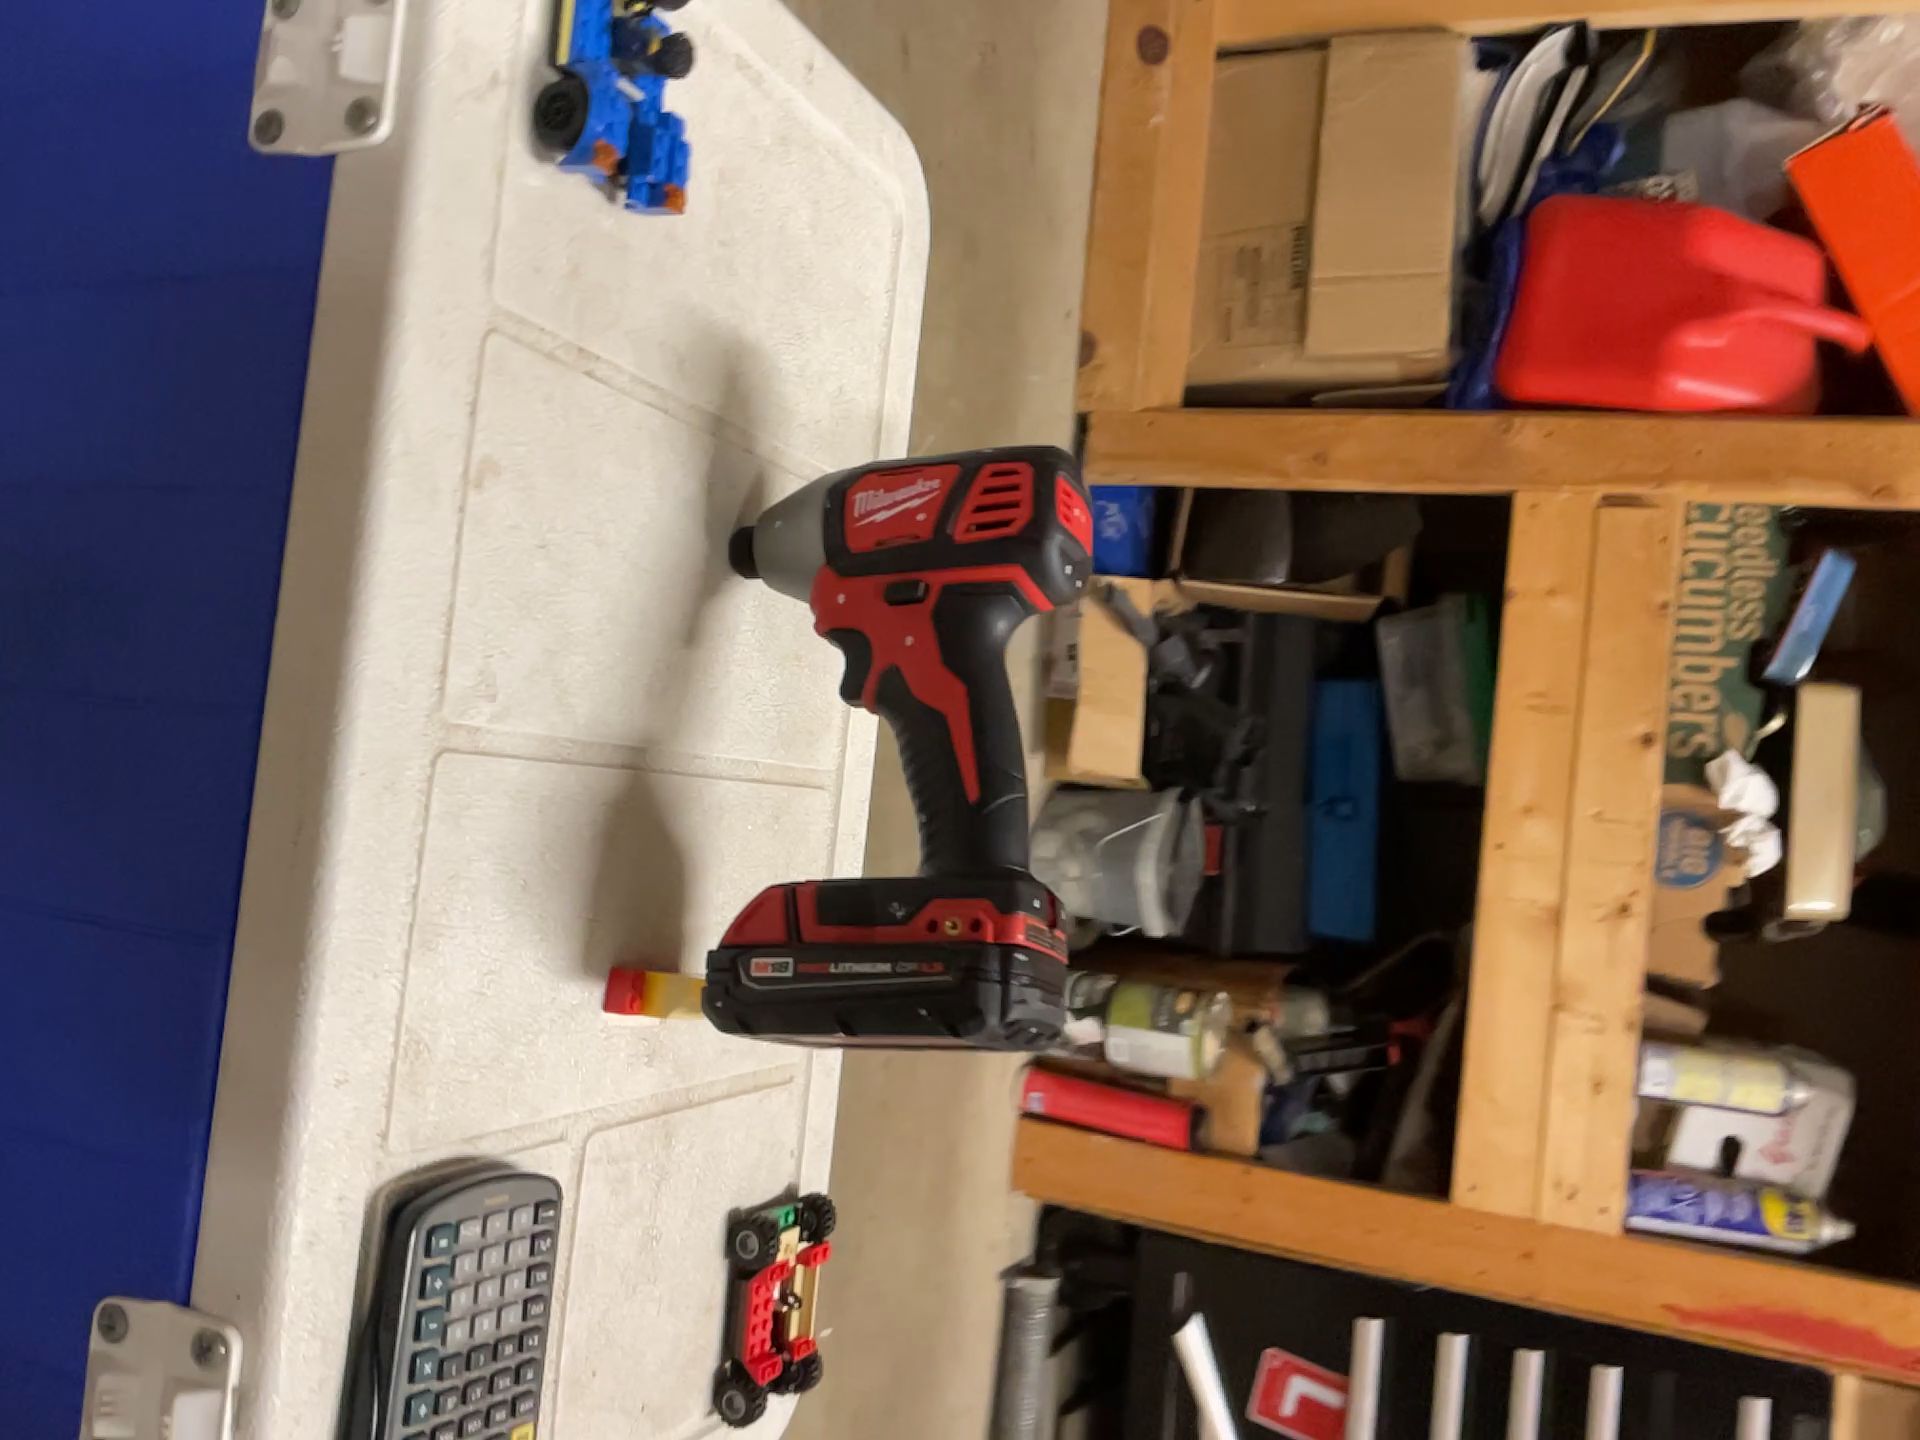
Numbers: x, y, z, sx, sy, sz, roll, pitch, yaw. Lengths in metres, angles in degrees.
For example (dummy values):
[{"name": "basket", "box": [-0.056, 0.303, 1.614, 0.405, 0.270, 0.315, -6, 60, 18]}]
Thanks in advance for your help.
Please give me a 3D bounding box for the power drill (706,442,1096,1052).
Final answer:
[{"name": "power drill", "box": [-0.026, 0.007, 0.586, 0.078, 0.143, 0.220, 37, 53, -65]}]
